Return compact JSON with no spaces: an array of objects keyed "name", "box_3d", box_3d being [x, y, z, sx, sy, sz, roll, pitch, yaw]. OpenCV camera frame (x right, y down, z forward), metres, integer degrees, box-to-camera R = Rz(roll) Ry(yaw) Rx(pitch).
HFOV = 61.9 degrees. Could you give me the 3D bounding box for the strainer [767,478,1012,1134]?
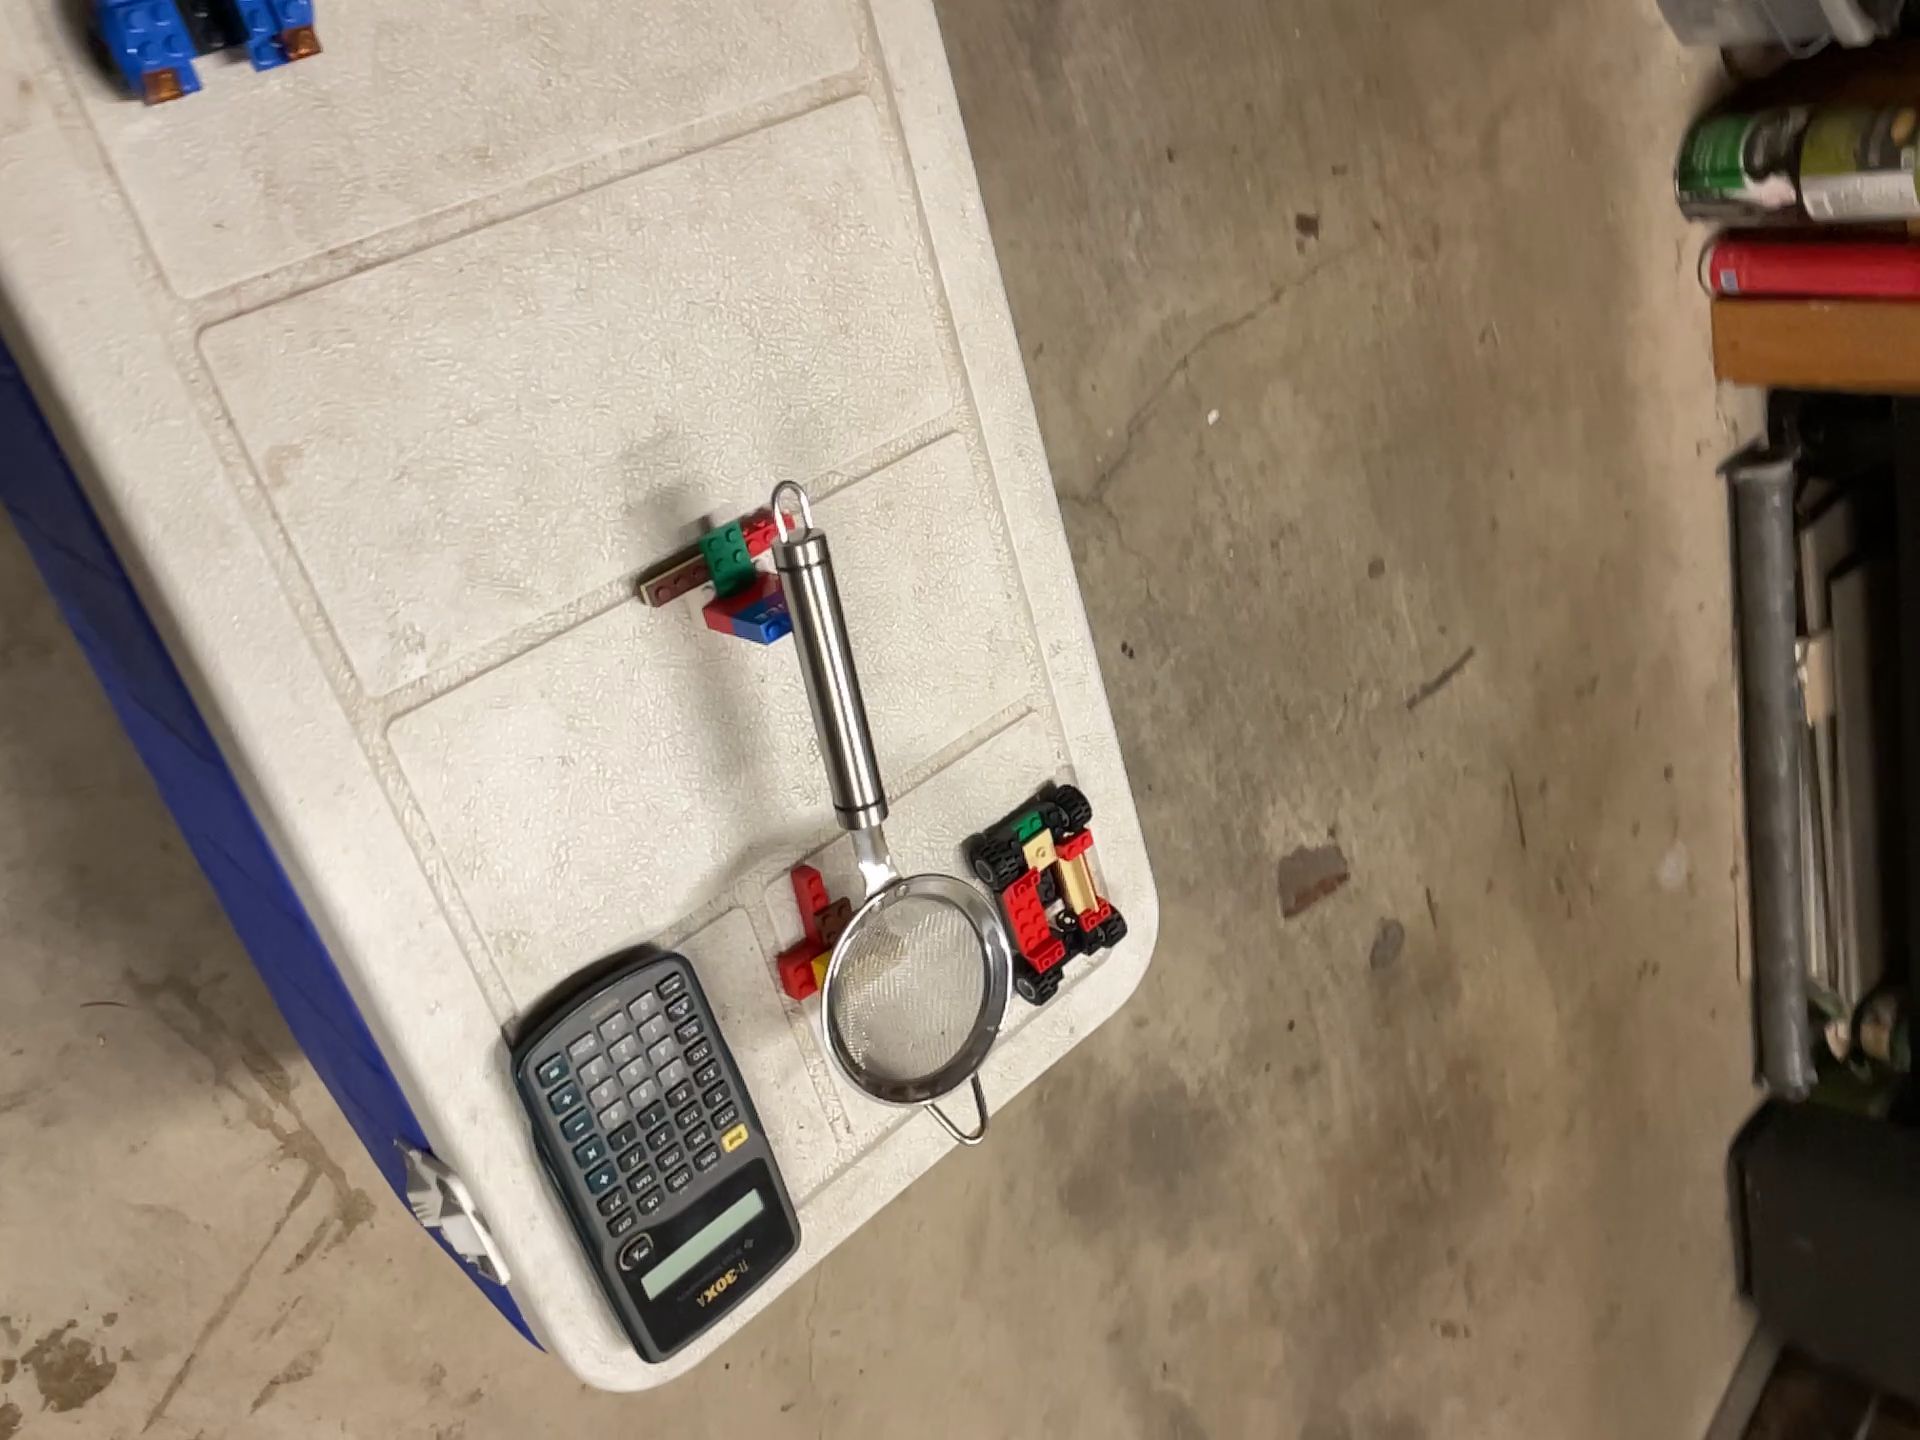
[{"name":"strainer","box_3d":[-0.033,0.036,0.578,0.087,0.050,0.258,-29,117,-34]}]
